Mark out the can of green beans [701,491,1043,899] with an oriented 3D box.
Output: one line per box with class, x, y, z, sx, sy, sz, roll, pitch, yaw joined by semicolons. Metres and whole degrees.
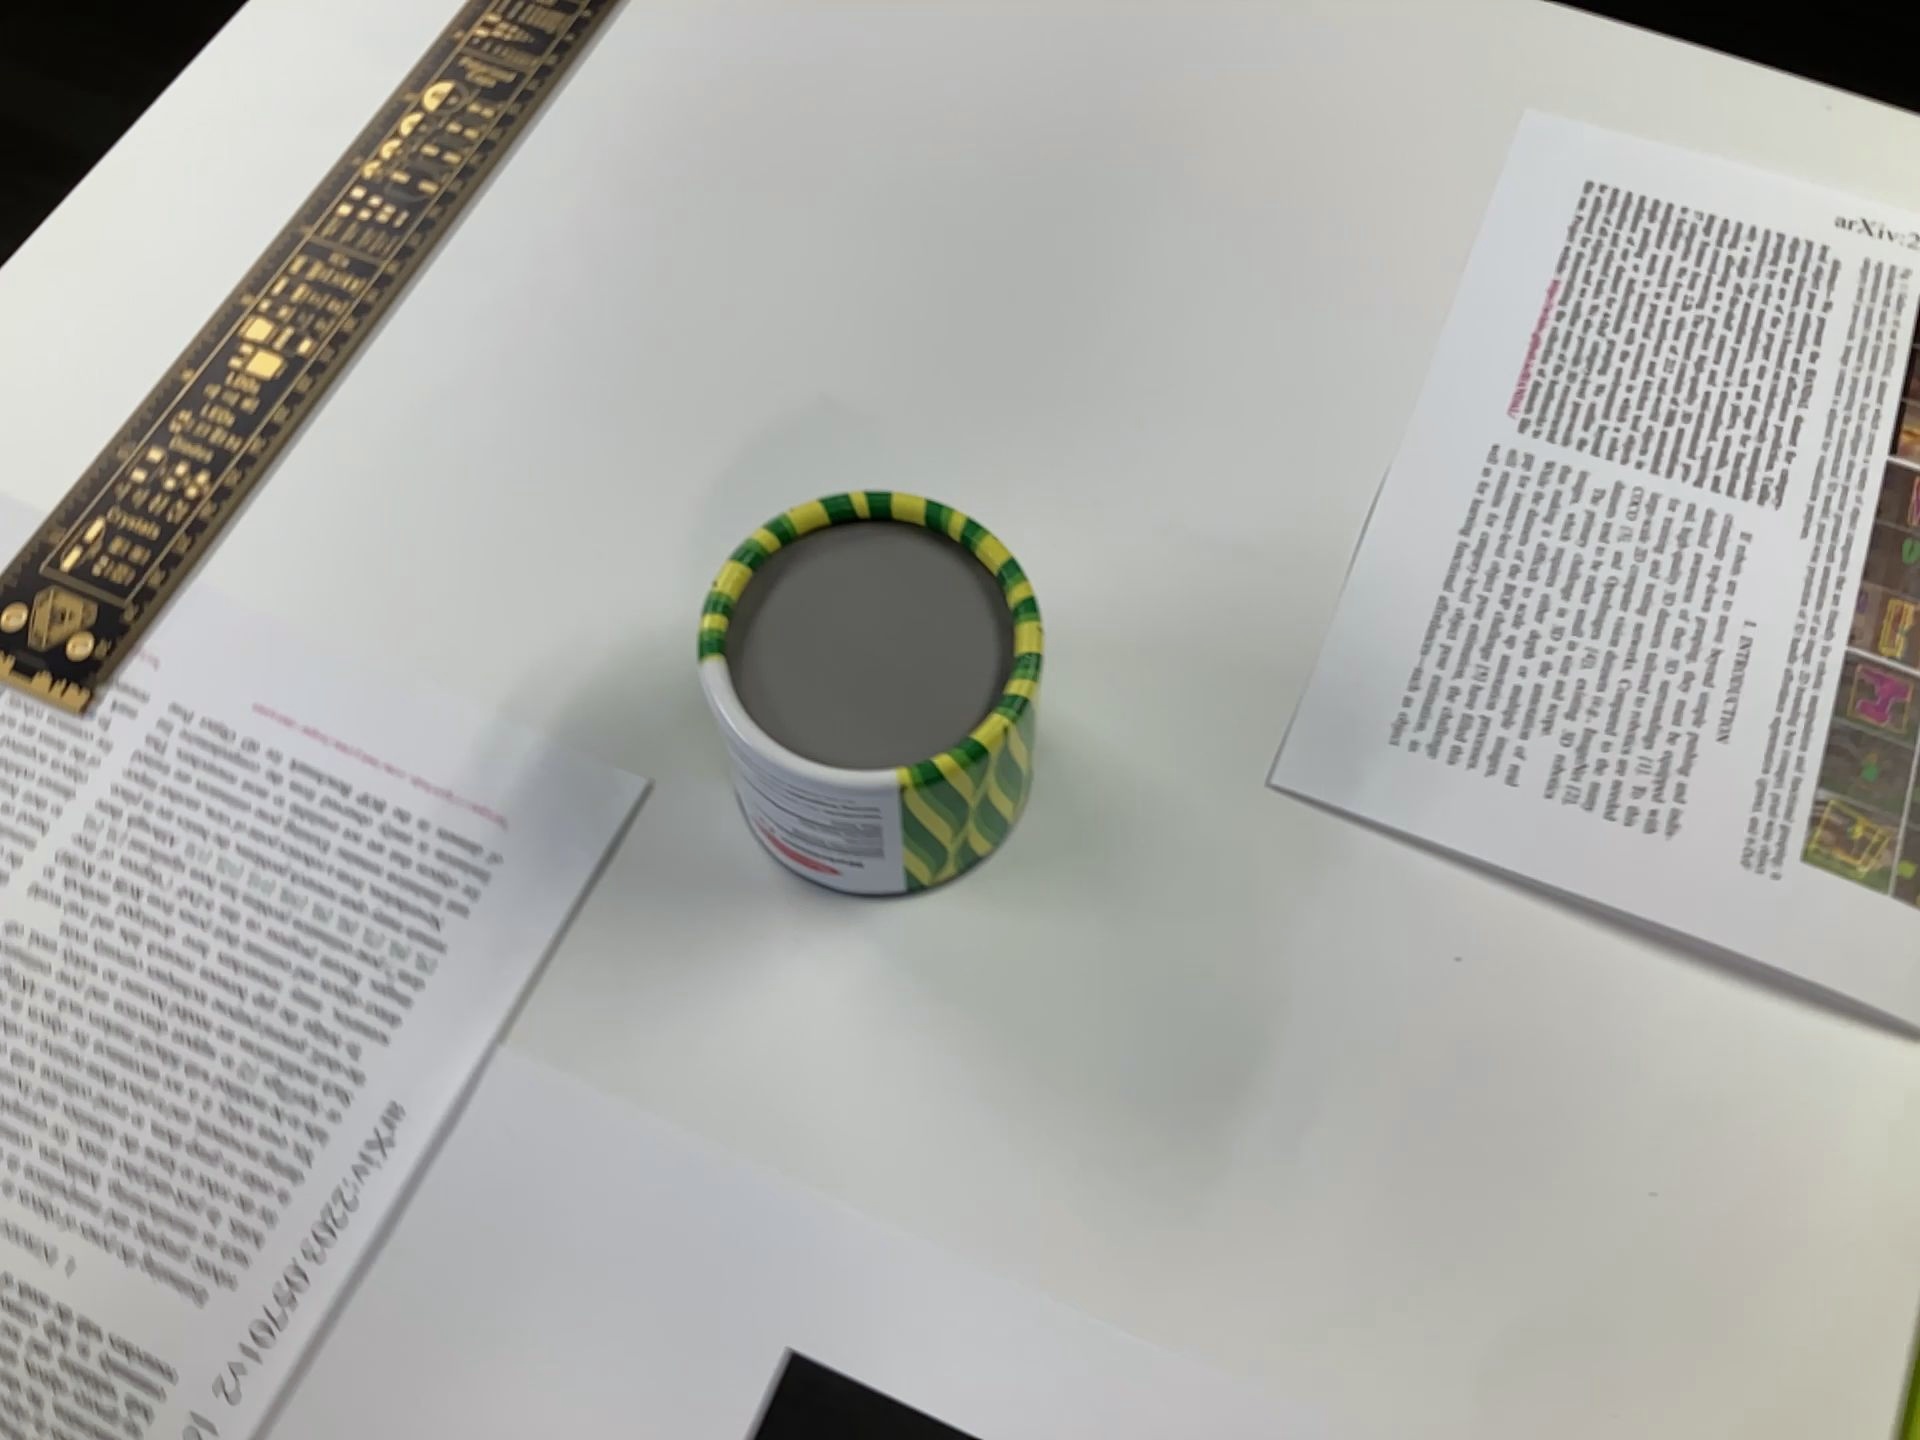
can of green beans;-0.017;-0.004;0.328;0.071;0.058;0.071;0;64;0
